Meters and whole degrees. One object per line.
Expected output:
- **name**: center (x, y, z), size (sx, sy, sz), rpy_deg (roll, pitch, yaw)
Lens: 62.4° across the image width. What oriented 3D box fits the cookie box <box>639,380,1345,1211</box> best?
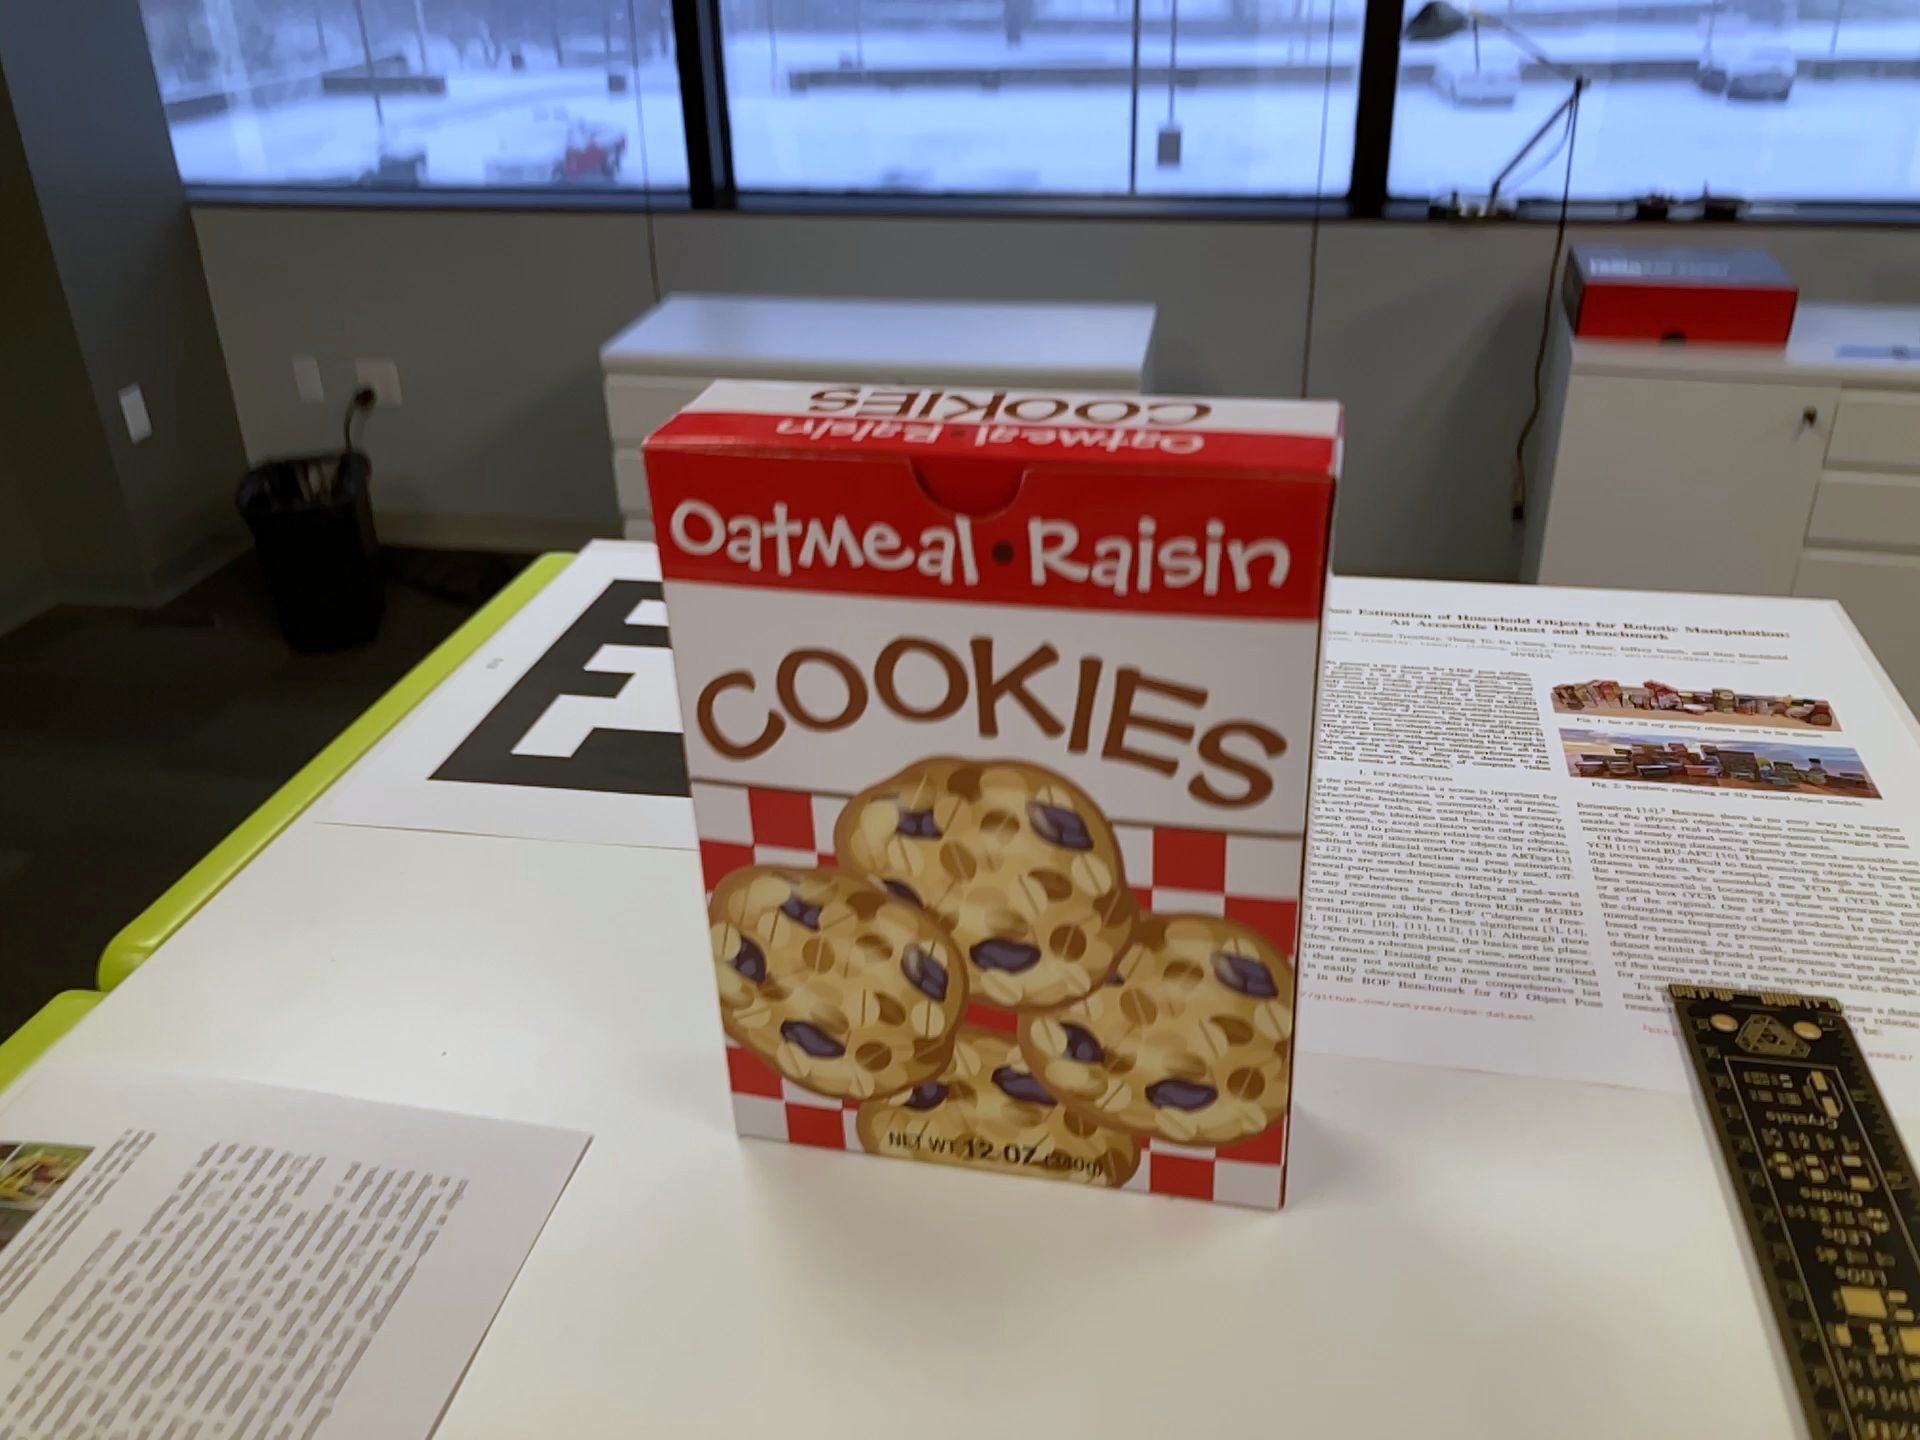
- **cookie box**: center (0.009, 0.018, 0.321), size (0.123, 0.167, 0.040), rpy_deg (5, 29, 13)
